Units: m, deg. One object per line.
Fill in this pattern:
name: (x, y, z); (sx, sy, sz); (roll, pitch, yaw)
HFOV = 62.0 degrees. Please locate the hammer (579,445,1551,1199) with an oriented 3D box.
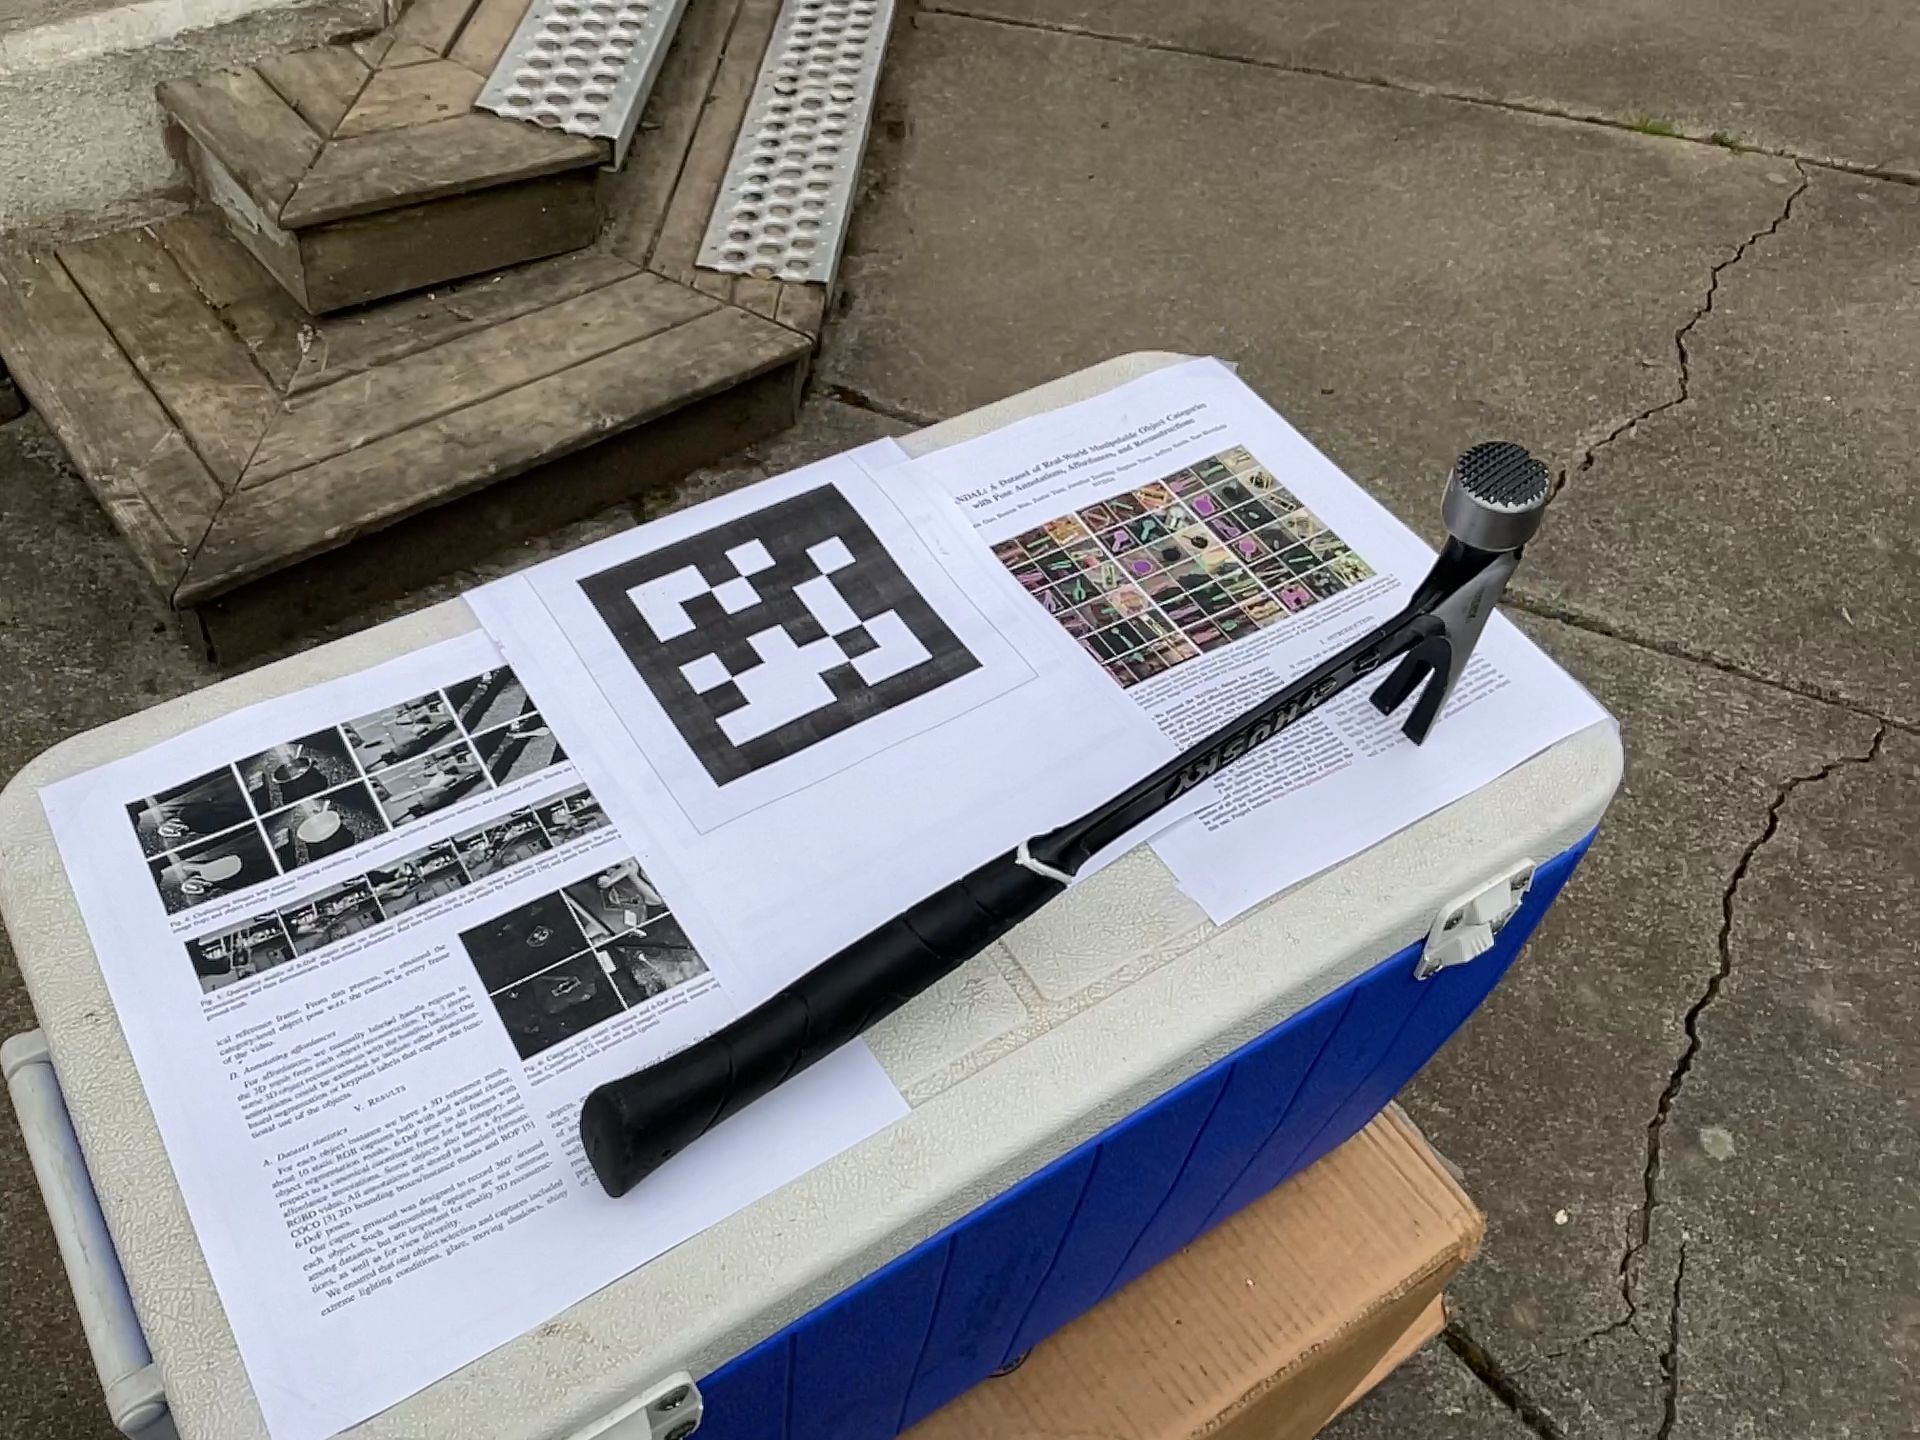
hammer: (0.046, 0.045, 0.583); (0.409, 0.149, 0.036); (-31, 60, -17)
